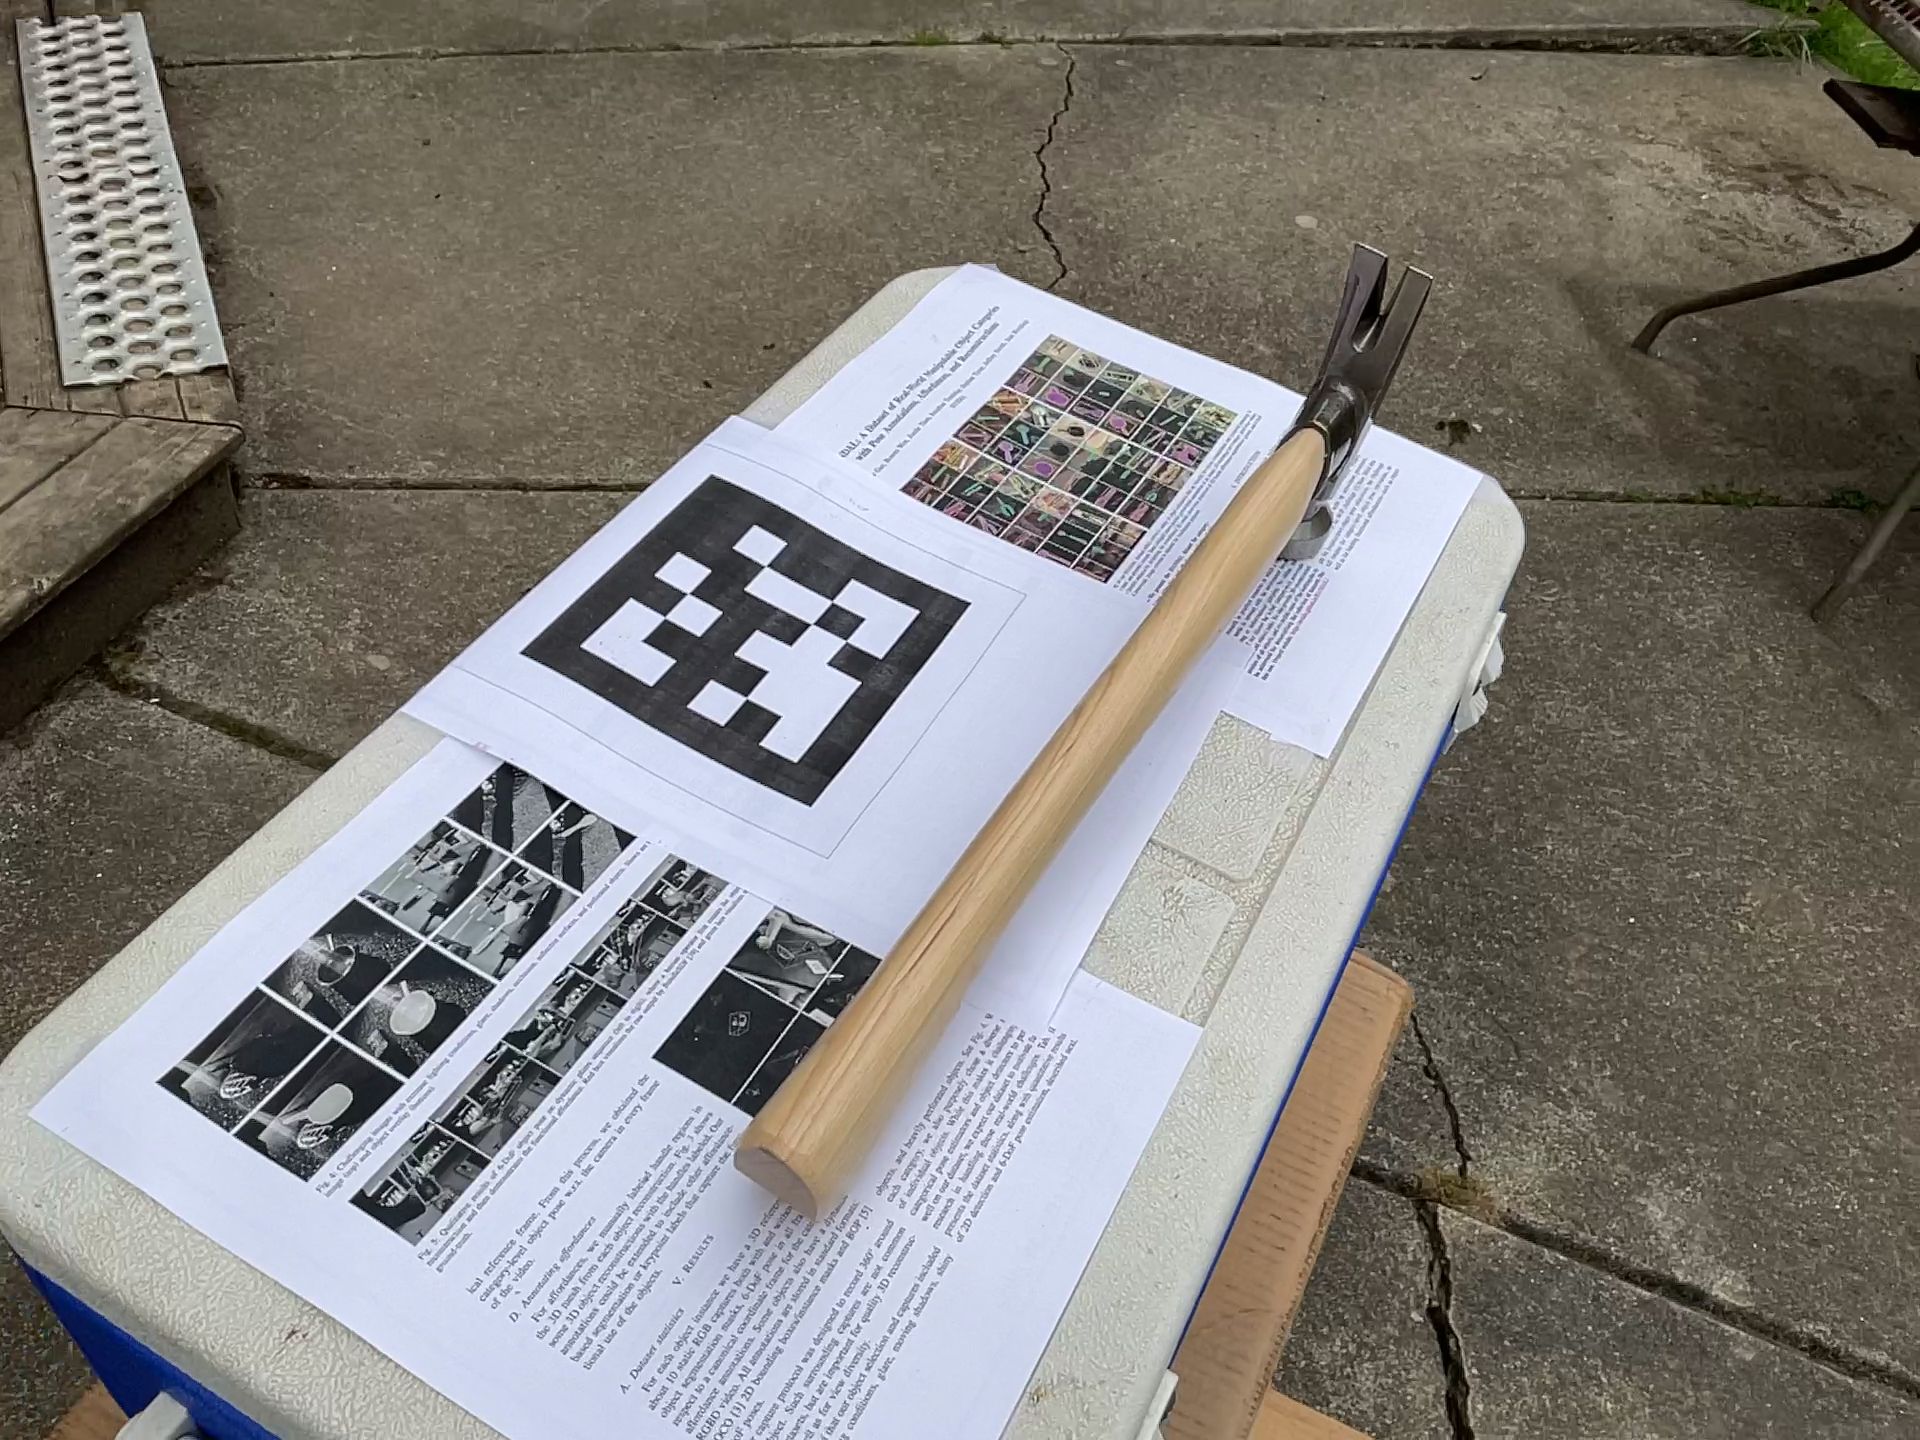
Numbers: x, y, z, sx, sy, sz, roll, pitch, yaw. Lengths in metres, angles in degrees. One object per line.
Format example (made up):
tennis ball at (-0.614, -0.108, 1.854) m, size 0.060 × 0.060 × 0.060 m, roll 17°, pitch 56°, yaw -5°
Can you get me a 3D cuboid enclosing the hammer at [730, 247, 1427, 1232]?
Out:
hammer at (0.056, -0.007, 0.549) m, size 0.038 × 0.146 × 0.410 m, roll 29°, pitch 54°, yaw 14°
